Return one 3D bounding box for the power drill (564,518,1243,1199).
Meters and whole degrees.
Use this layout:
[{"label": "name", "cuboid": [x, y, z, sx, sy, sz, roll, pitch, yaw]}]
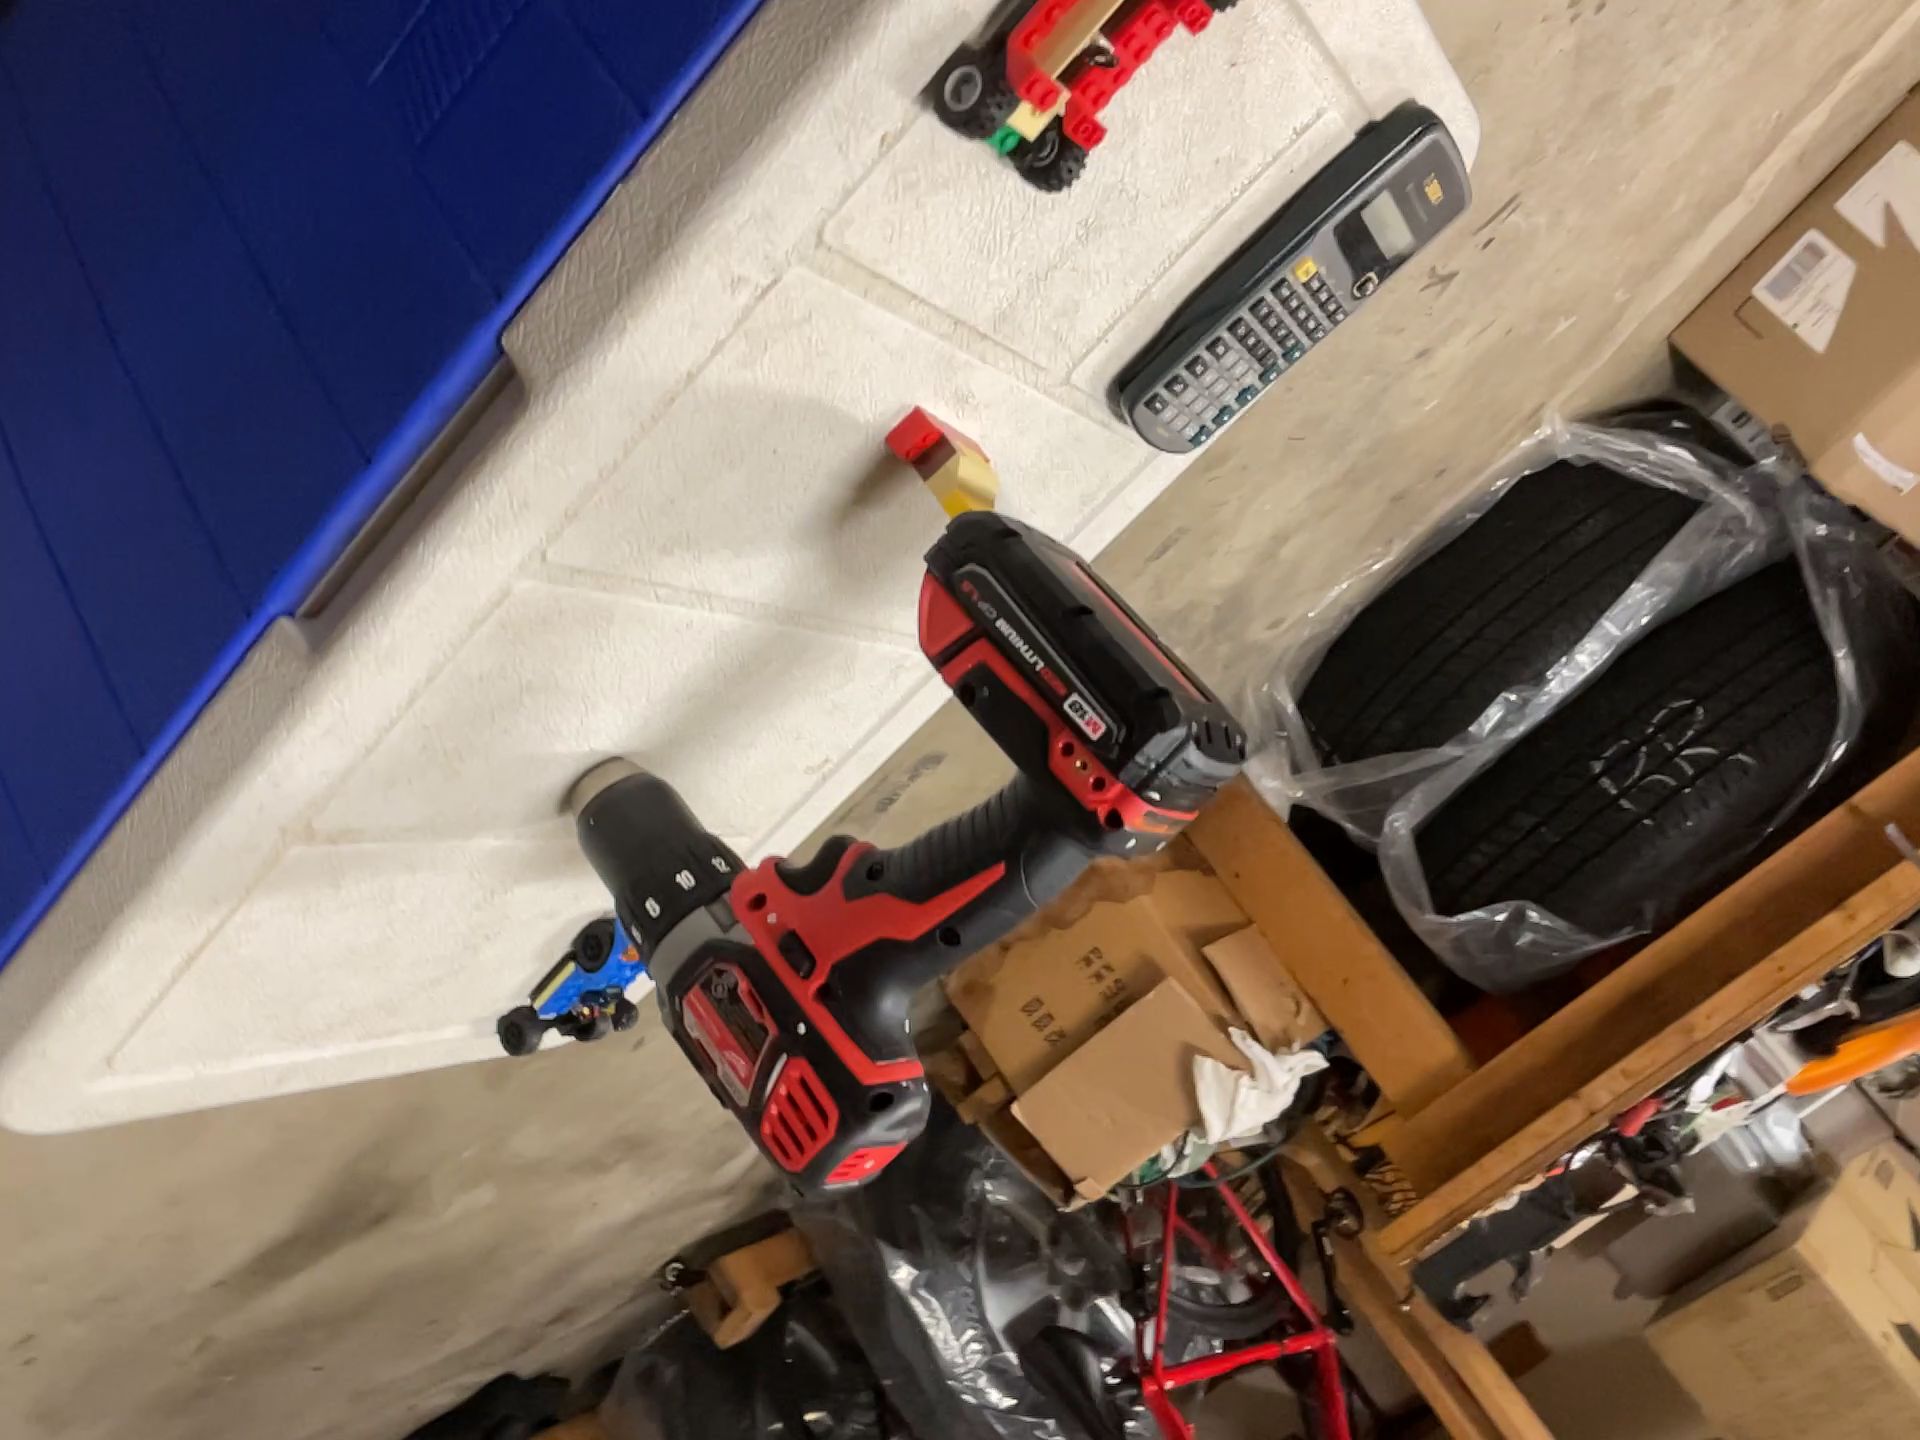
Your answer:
[{"label": "power drill", "cuboid": [-0.034, 0.033, 0.575, 0.226, 0.188, 0.080, -47, 158, 14]}]
